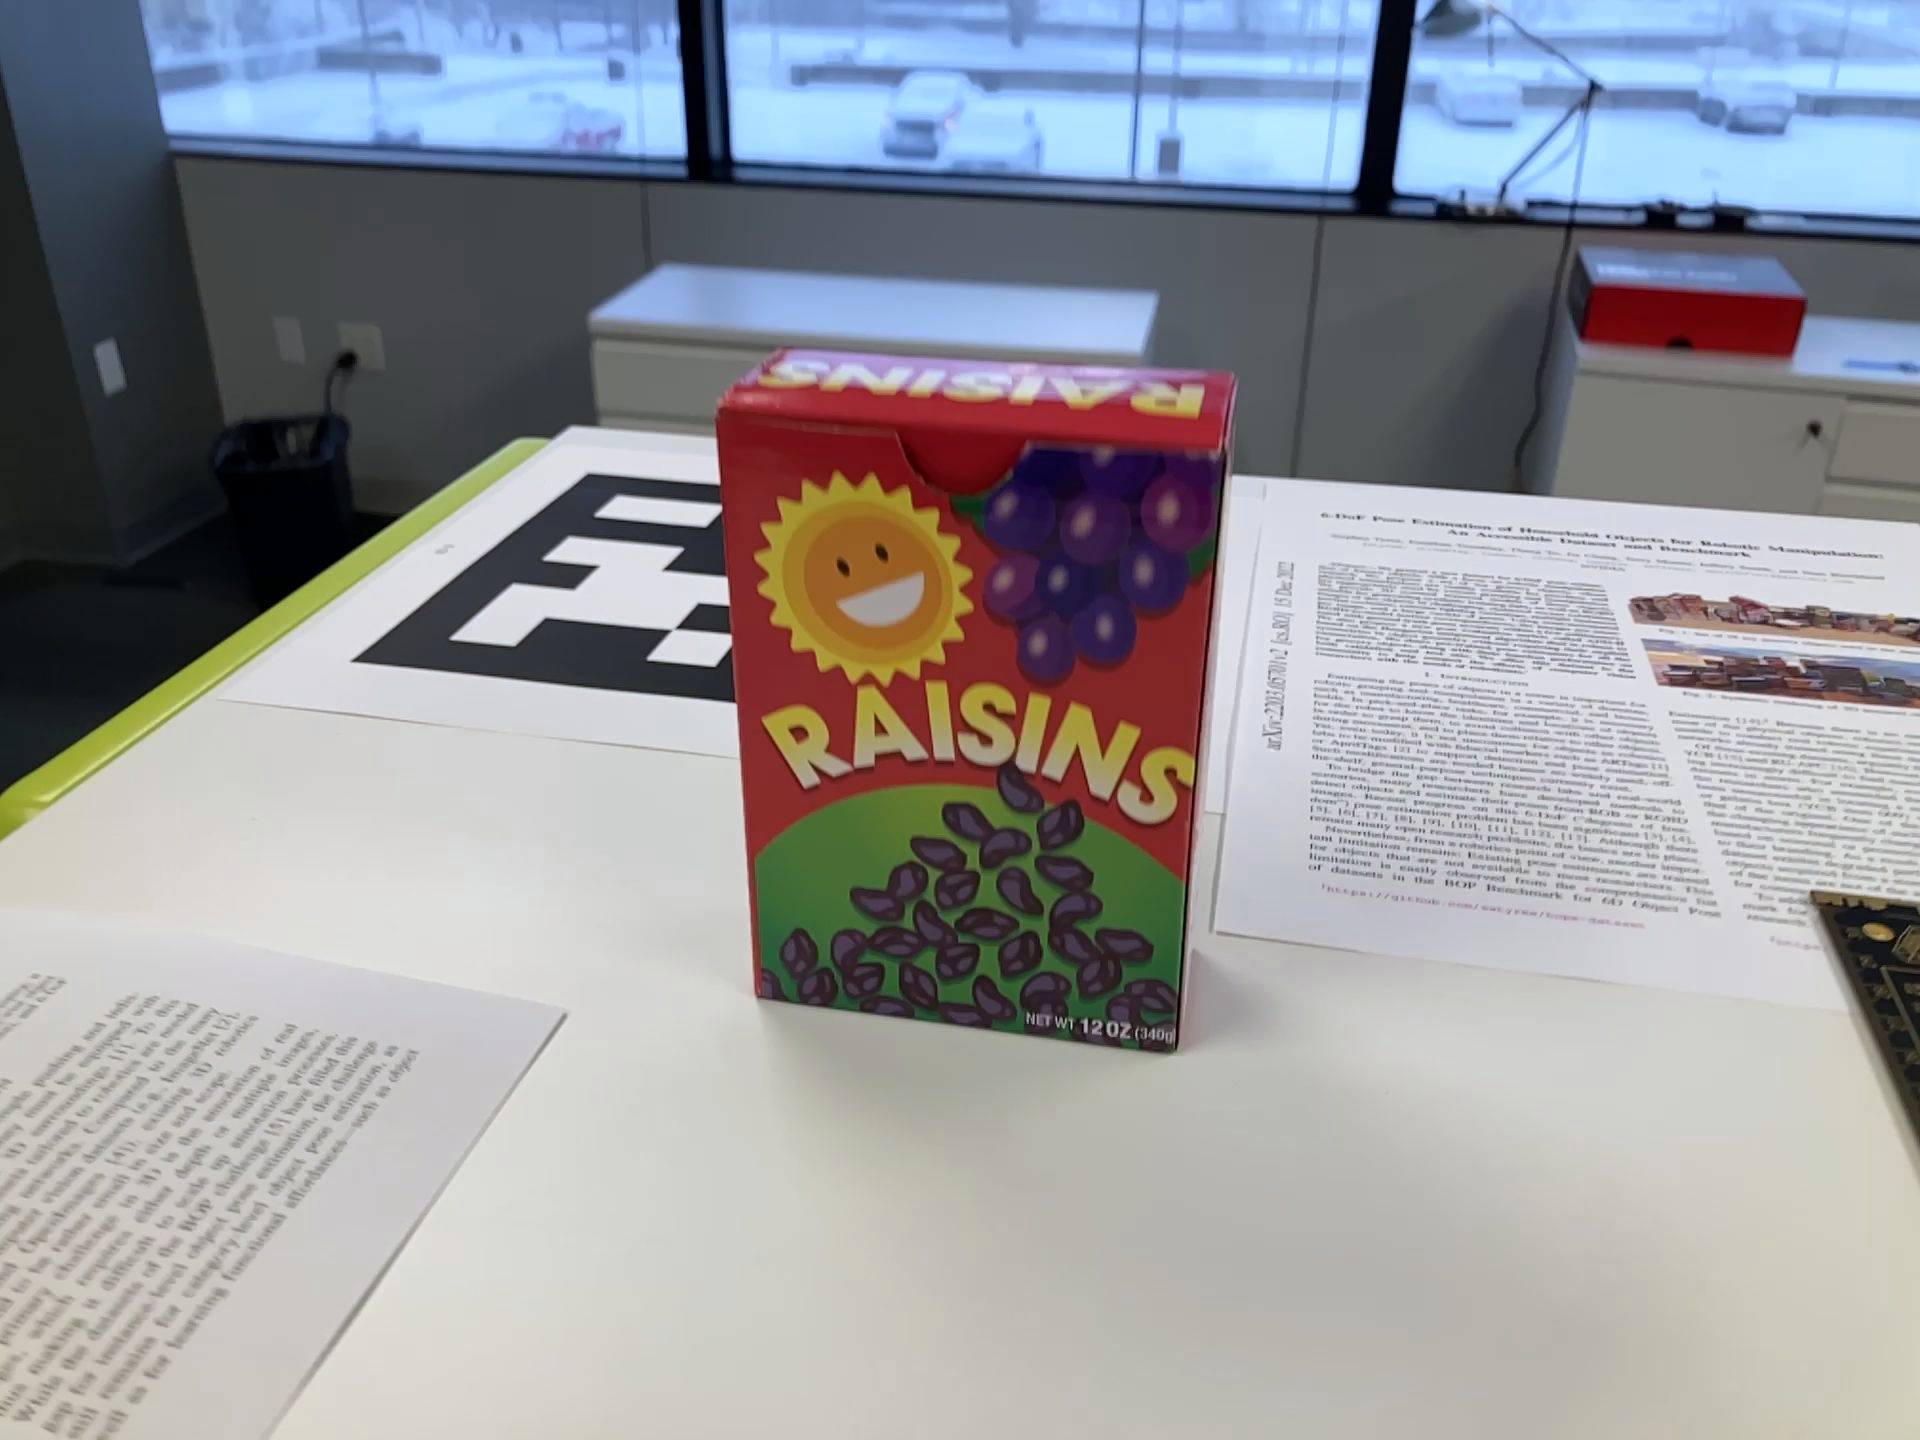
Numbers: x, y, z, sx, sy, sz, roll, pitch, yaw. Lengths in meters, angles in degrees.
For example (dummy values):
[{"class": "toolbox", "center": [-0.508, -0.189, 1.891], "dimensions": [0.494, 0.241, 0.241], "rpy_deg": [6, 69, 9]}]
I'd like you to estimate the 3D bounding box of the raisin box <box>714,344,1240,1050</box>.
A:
[{"class": "raisin box", "center": [0.004, -0.003, 0.294], "dimensions": [0.086, 0.123, 0.040], "rpy_deg": [6, 28, 11]}]
